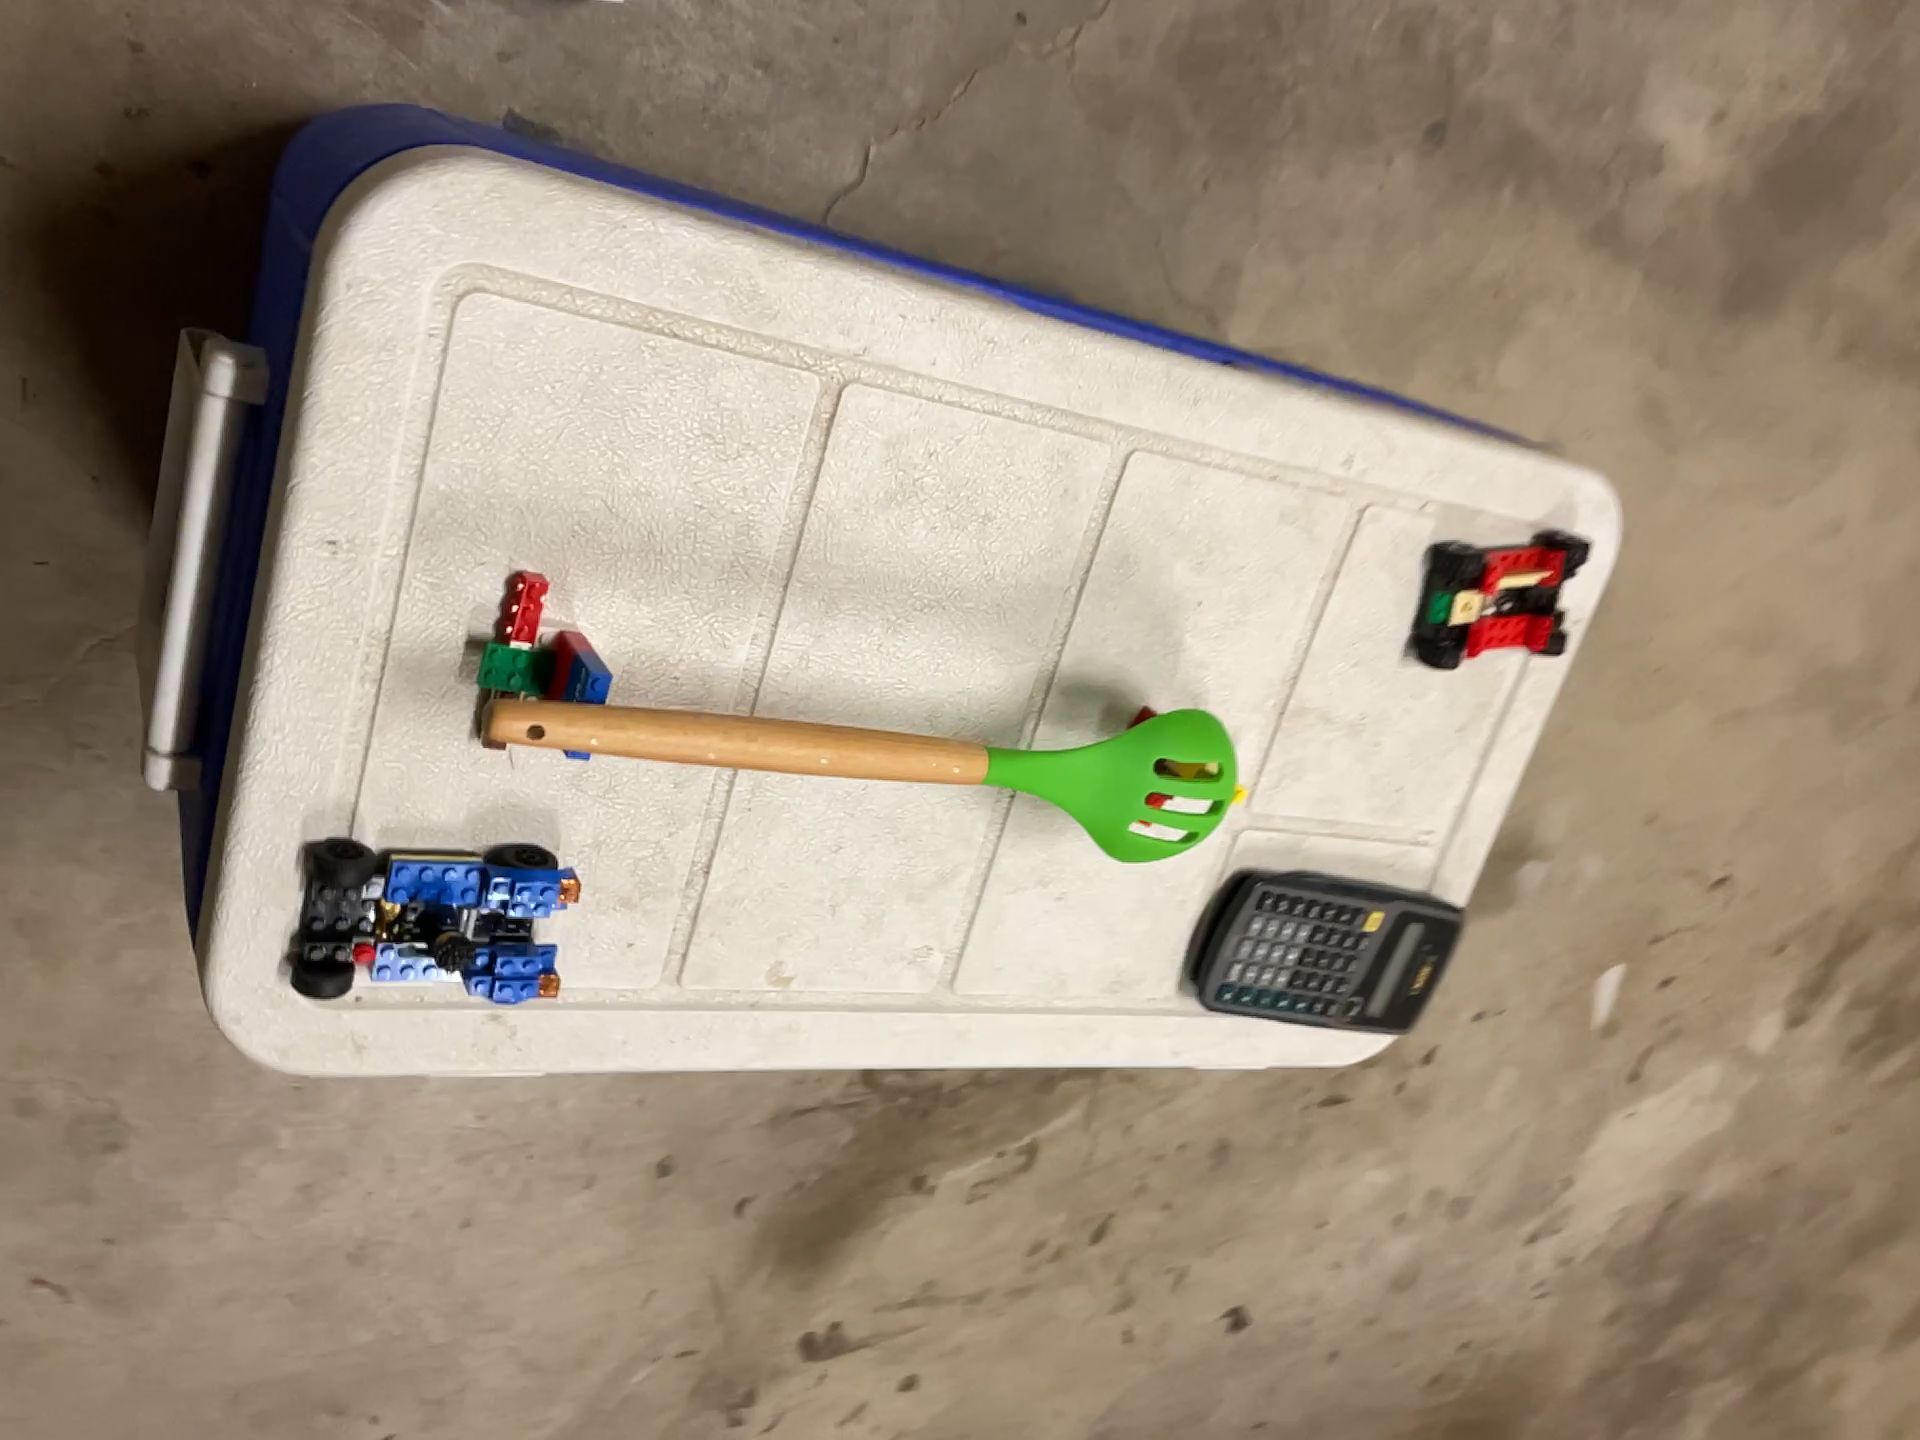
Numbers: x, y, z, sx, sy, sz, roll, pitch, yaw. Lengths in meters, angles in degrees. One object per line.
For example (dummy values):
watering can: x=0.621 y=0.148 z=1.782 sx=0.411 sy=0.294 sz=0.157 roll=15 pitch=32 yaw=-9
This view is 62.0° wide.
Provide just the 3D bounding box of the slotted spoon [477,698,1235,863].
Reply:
slotted spoon: x=-0.017 y=0.016 z=0.582 sx=0.313 sy=0.031 sz=0.070 roll=7 pitch=111 yaw=-31
